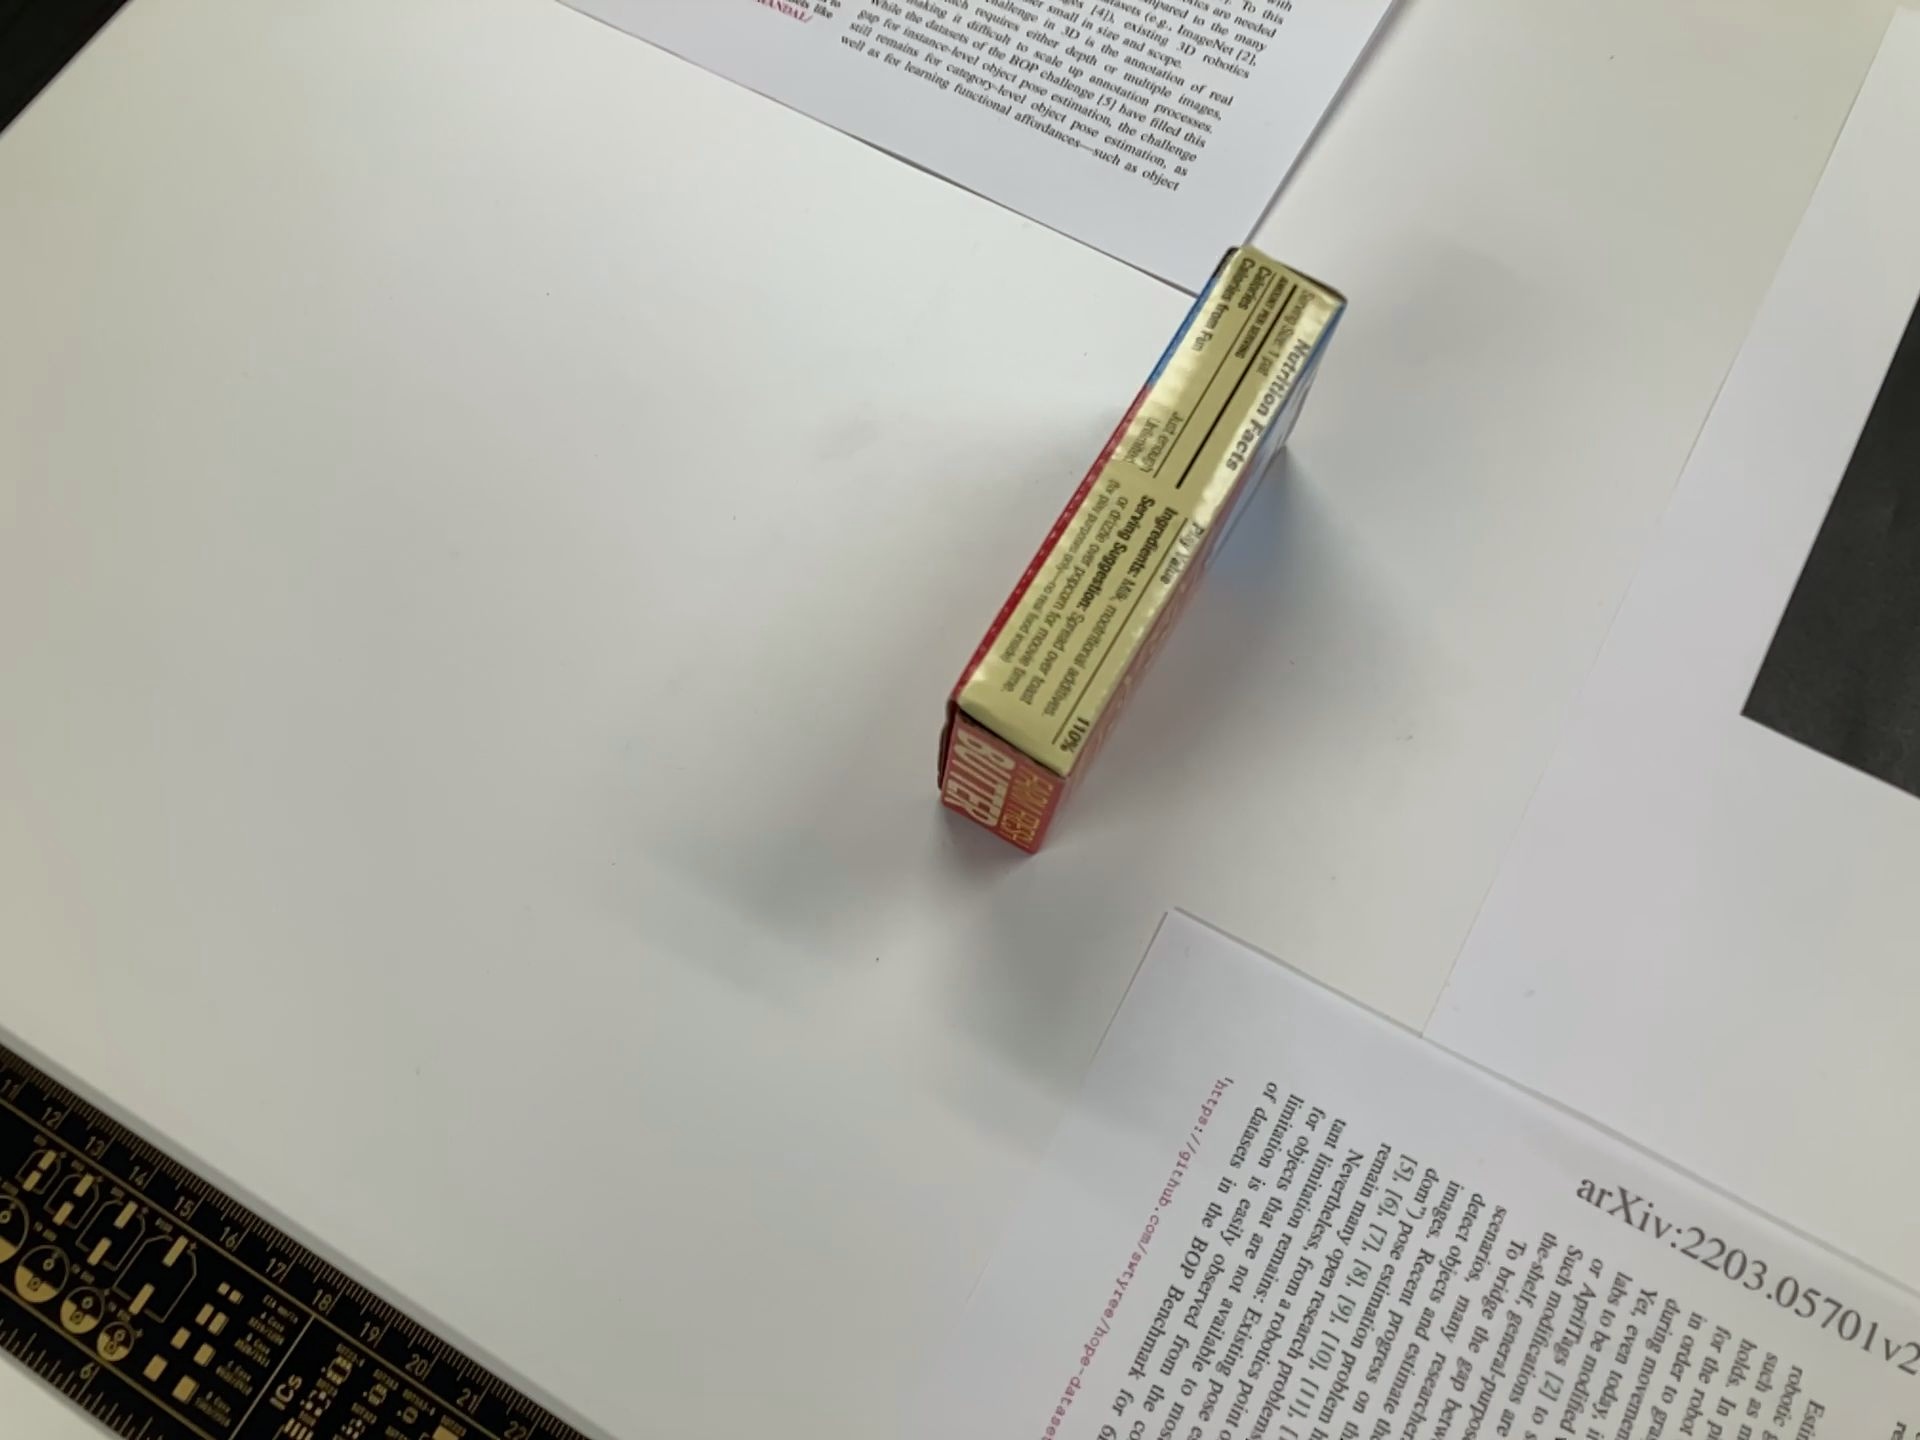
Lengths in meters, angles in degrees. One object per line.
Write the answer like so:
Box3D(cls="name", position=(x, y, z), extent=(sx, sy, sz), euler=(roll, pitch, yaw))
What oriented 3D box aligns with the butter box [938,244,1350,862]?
Box3D(cls="butter box", position=(0.031, -0.029, 0.282), extent=(0.024, 0.053, 0.103), euler=(29, 73, 8))
